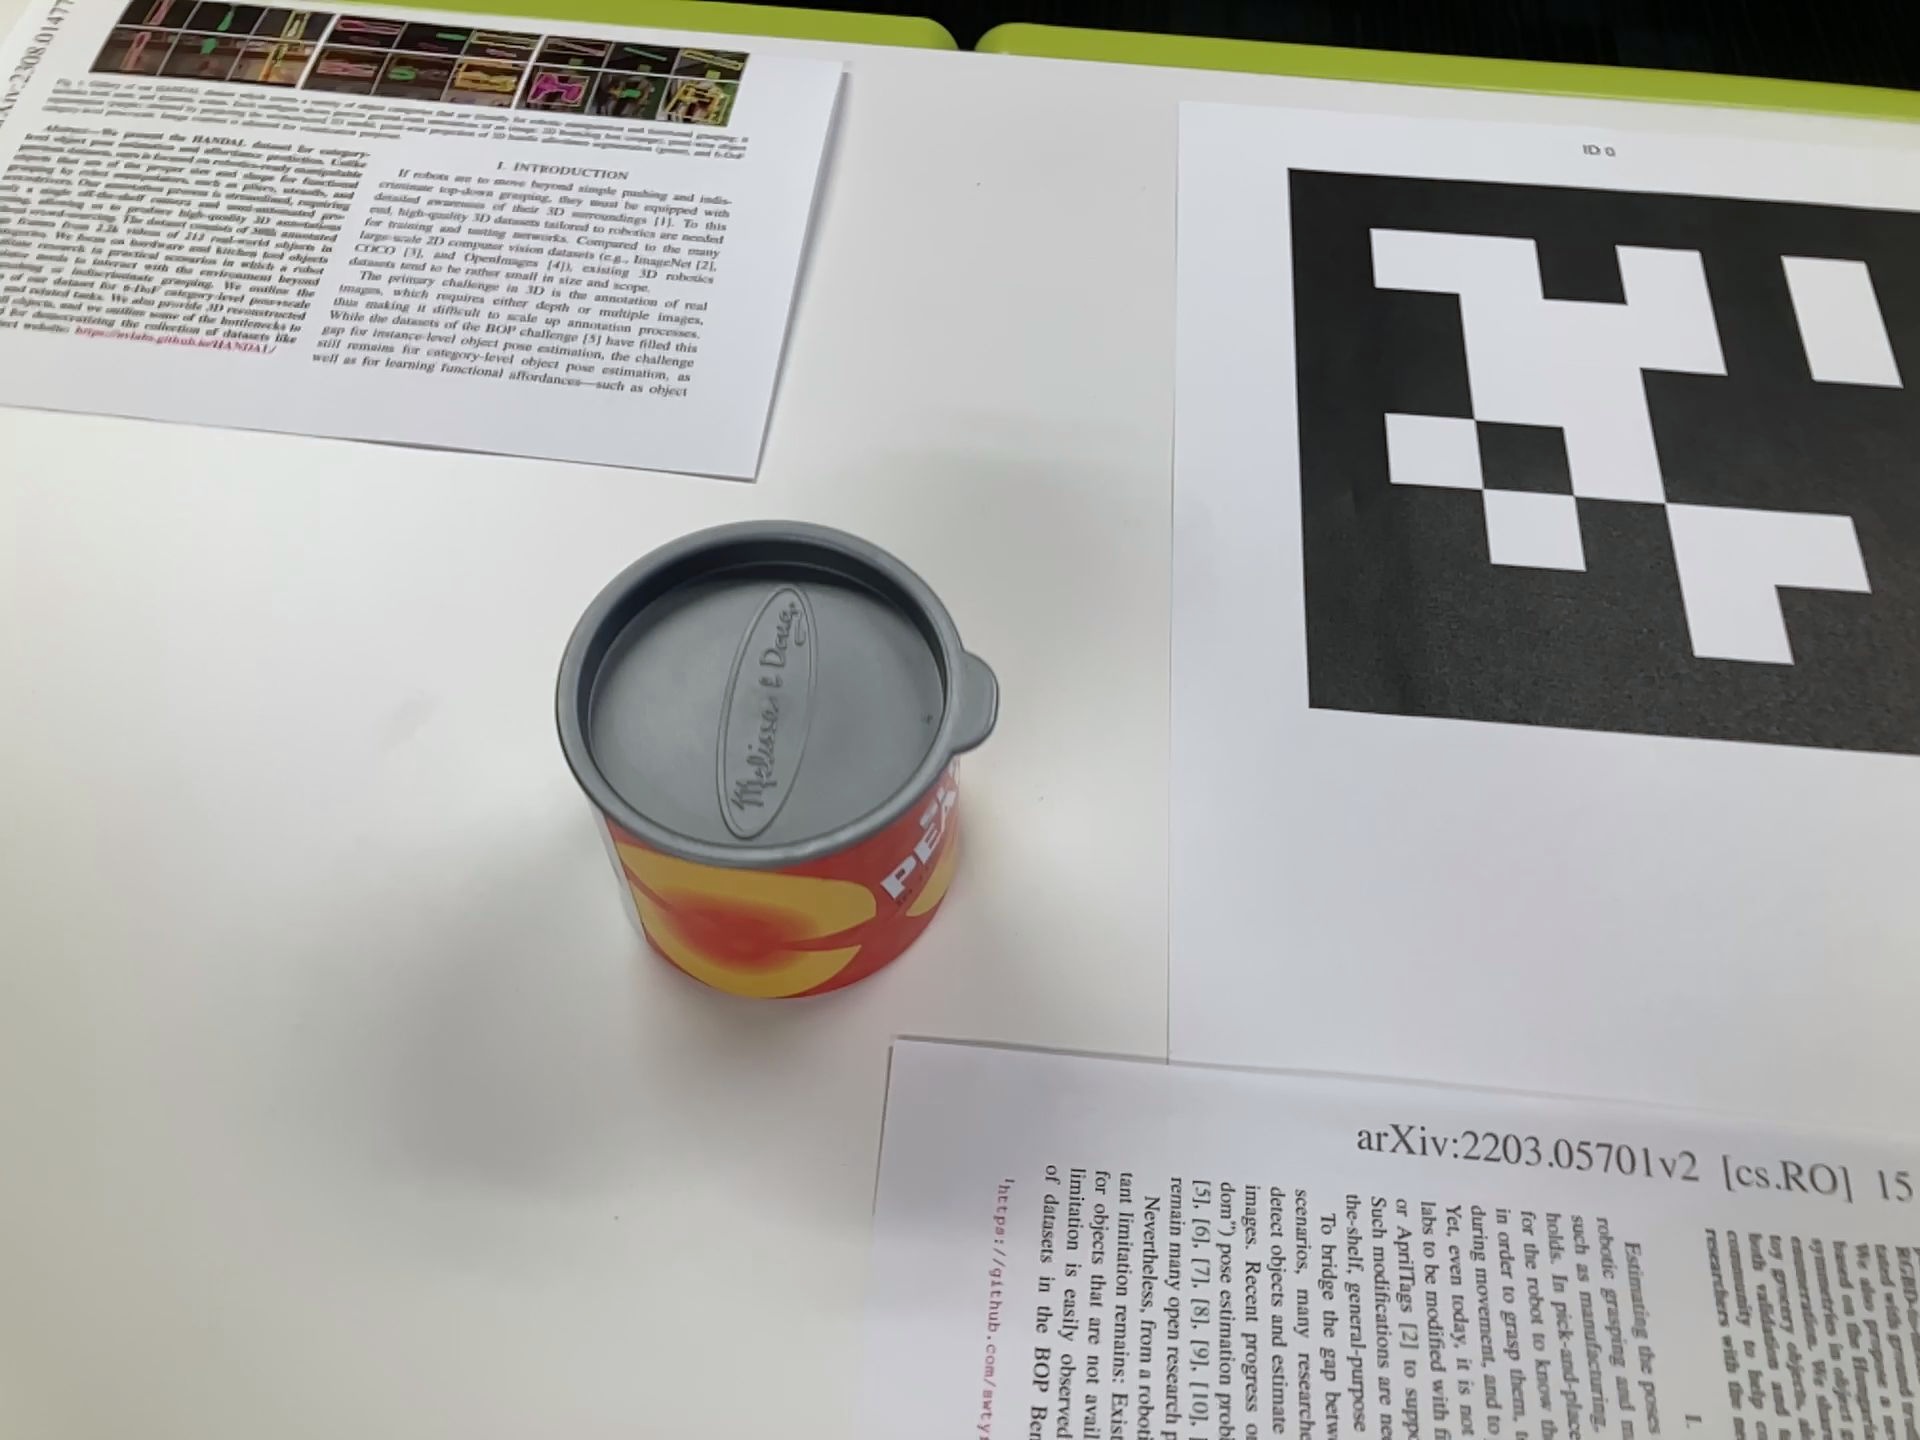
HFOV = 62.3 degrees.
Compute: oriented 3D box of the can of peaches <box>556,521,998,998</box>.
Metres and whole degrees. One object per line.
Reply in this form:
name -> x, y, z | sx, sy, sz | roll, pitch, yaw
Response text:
can of peaches -> -0.030, 0.009, 0.281 | 0.071, 0.058, 0.071 | 1, 59, -1
